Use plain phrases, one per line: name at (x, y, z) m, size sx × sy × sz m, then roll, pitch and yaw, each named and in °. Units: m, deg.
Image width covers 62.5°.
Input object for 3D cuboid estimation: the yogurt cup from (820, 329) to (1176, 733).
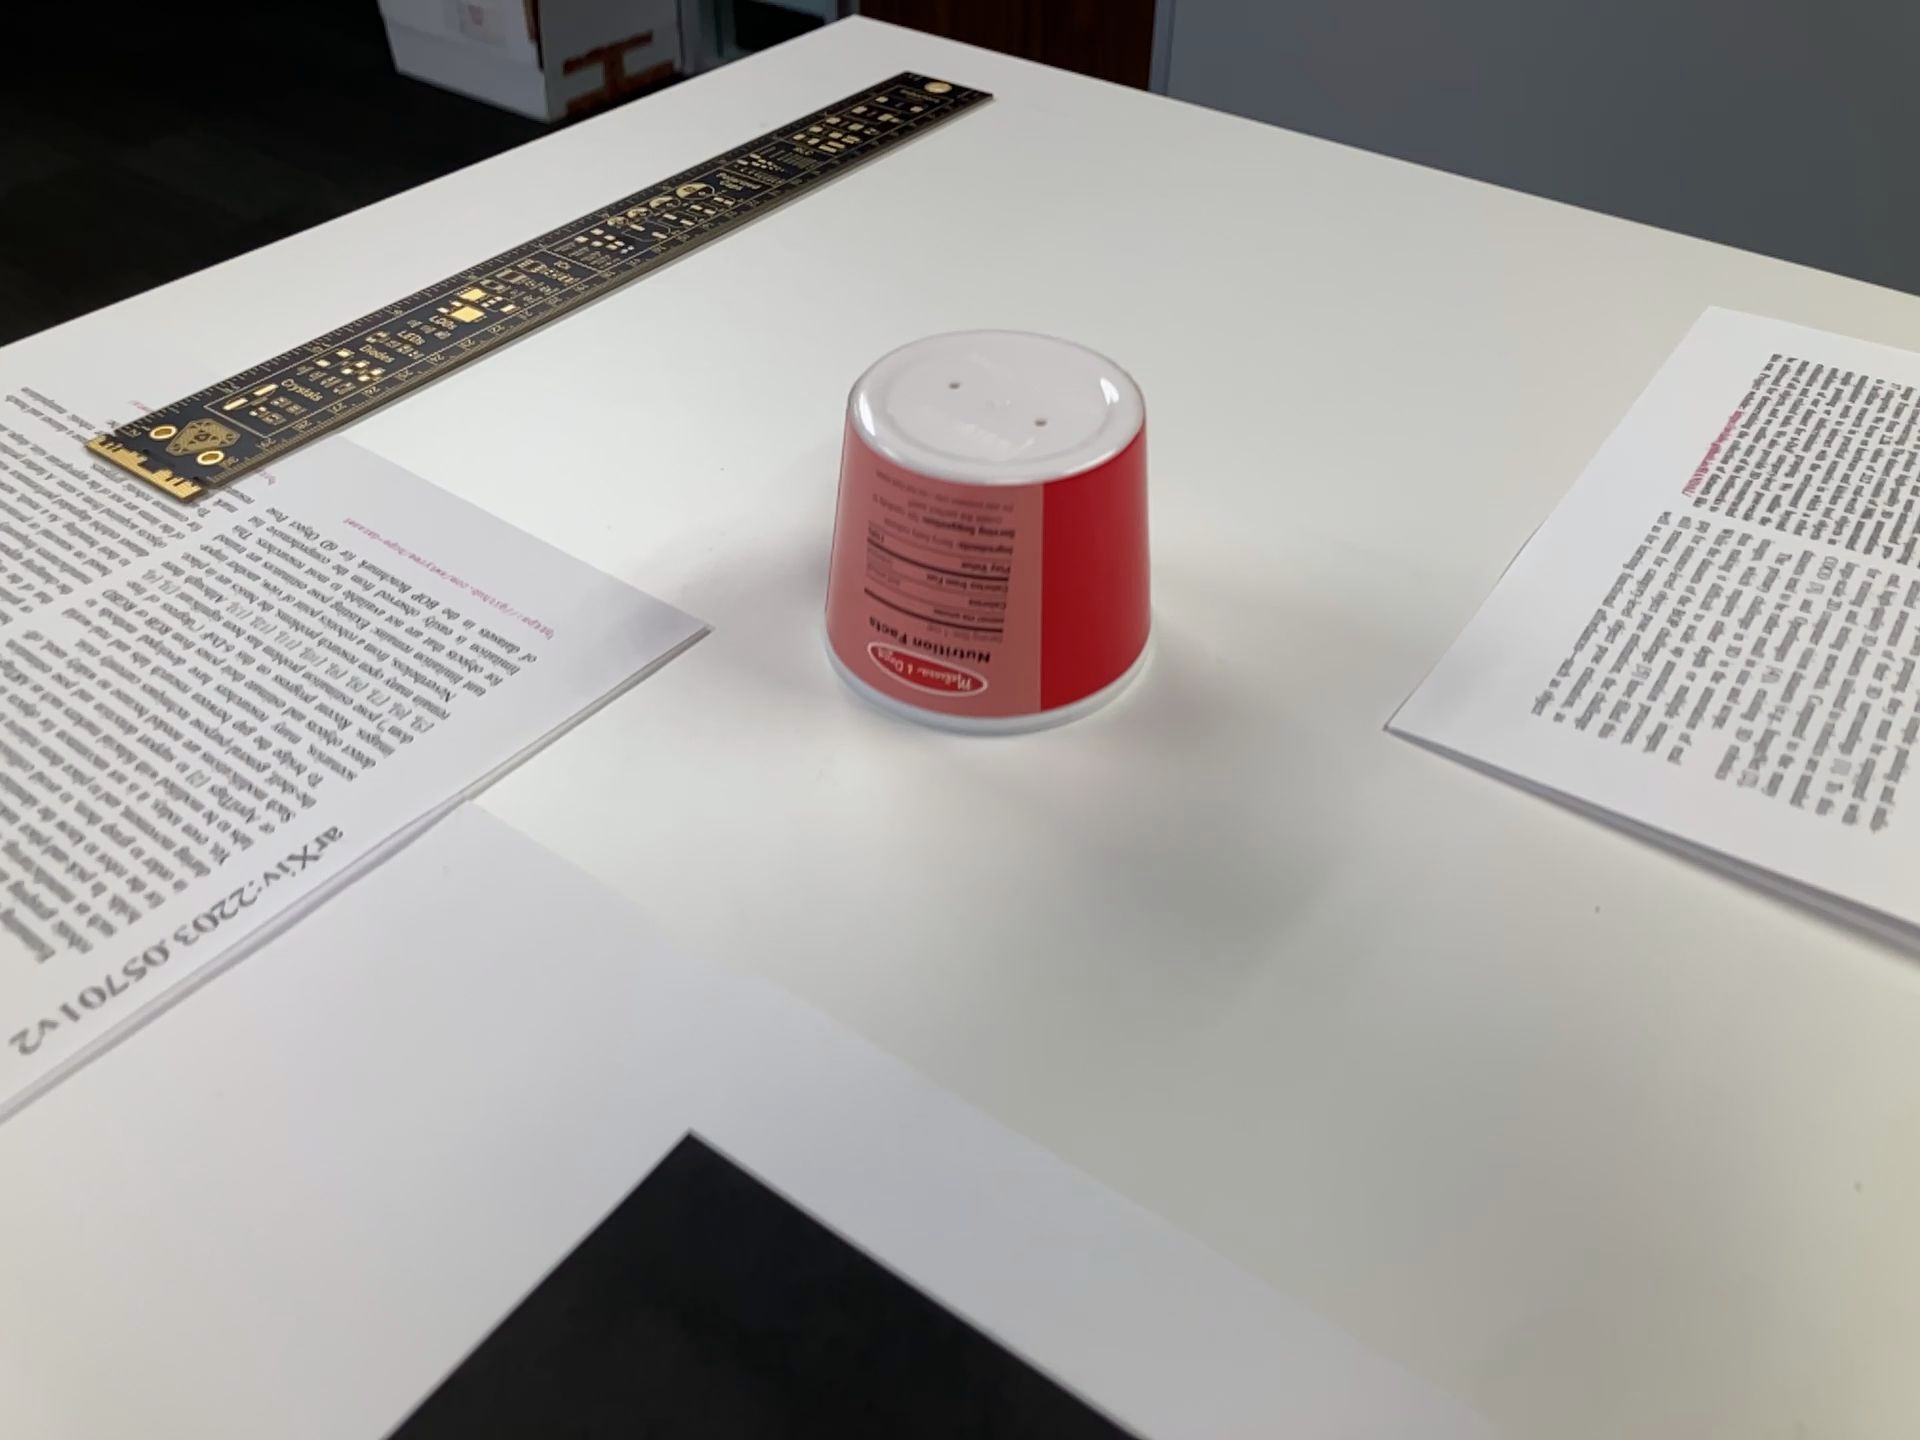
yogurt cup at (0.006, -0.039, 0.306) m, size 0.072 × 0.054 × 0.072 m, roll 1°, pitch 42°, yaw -1°
